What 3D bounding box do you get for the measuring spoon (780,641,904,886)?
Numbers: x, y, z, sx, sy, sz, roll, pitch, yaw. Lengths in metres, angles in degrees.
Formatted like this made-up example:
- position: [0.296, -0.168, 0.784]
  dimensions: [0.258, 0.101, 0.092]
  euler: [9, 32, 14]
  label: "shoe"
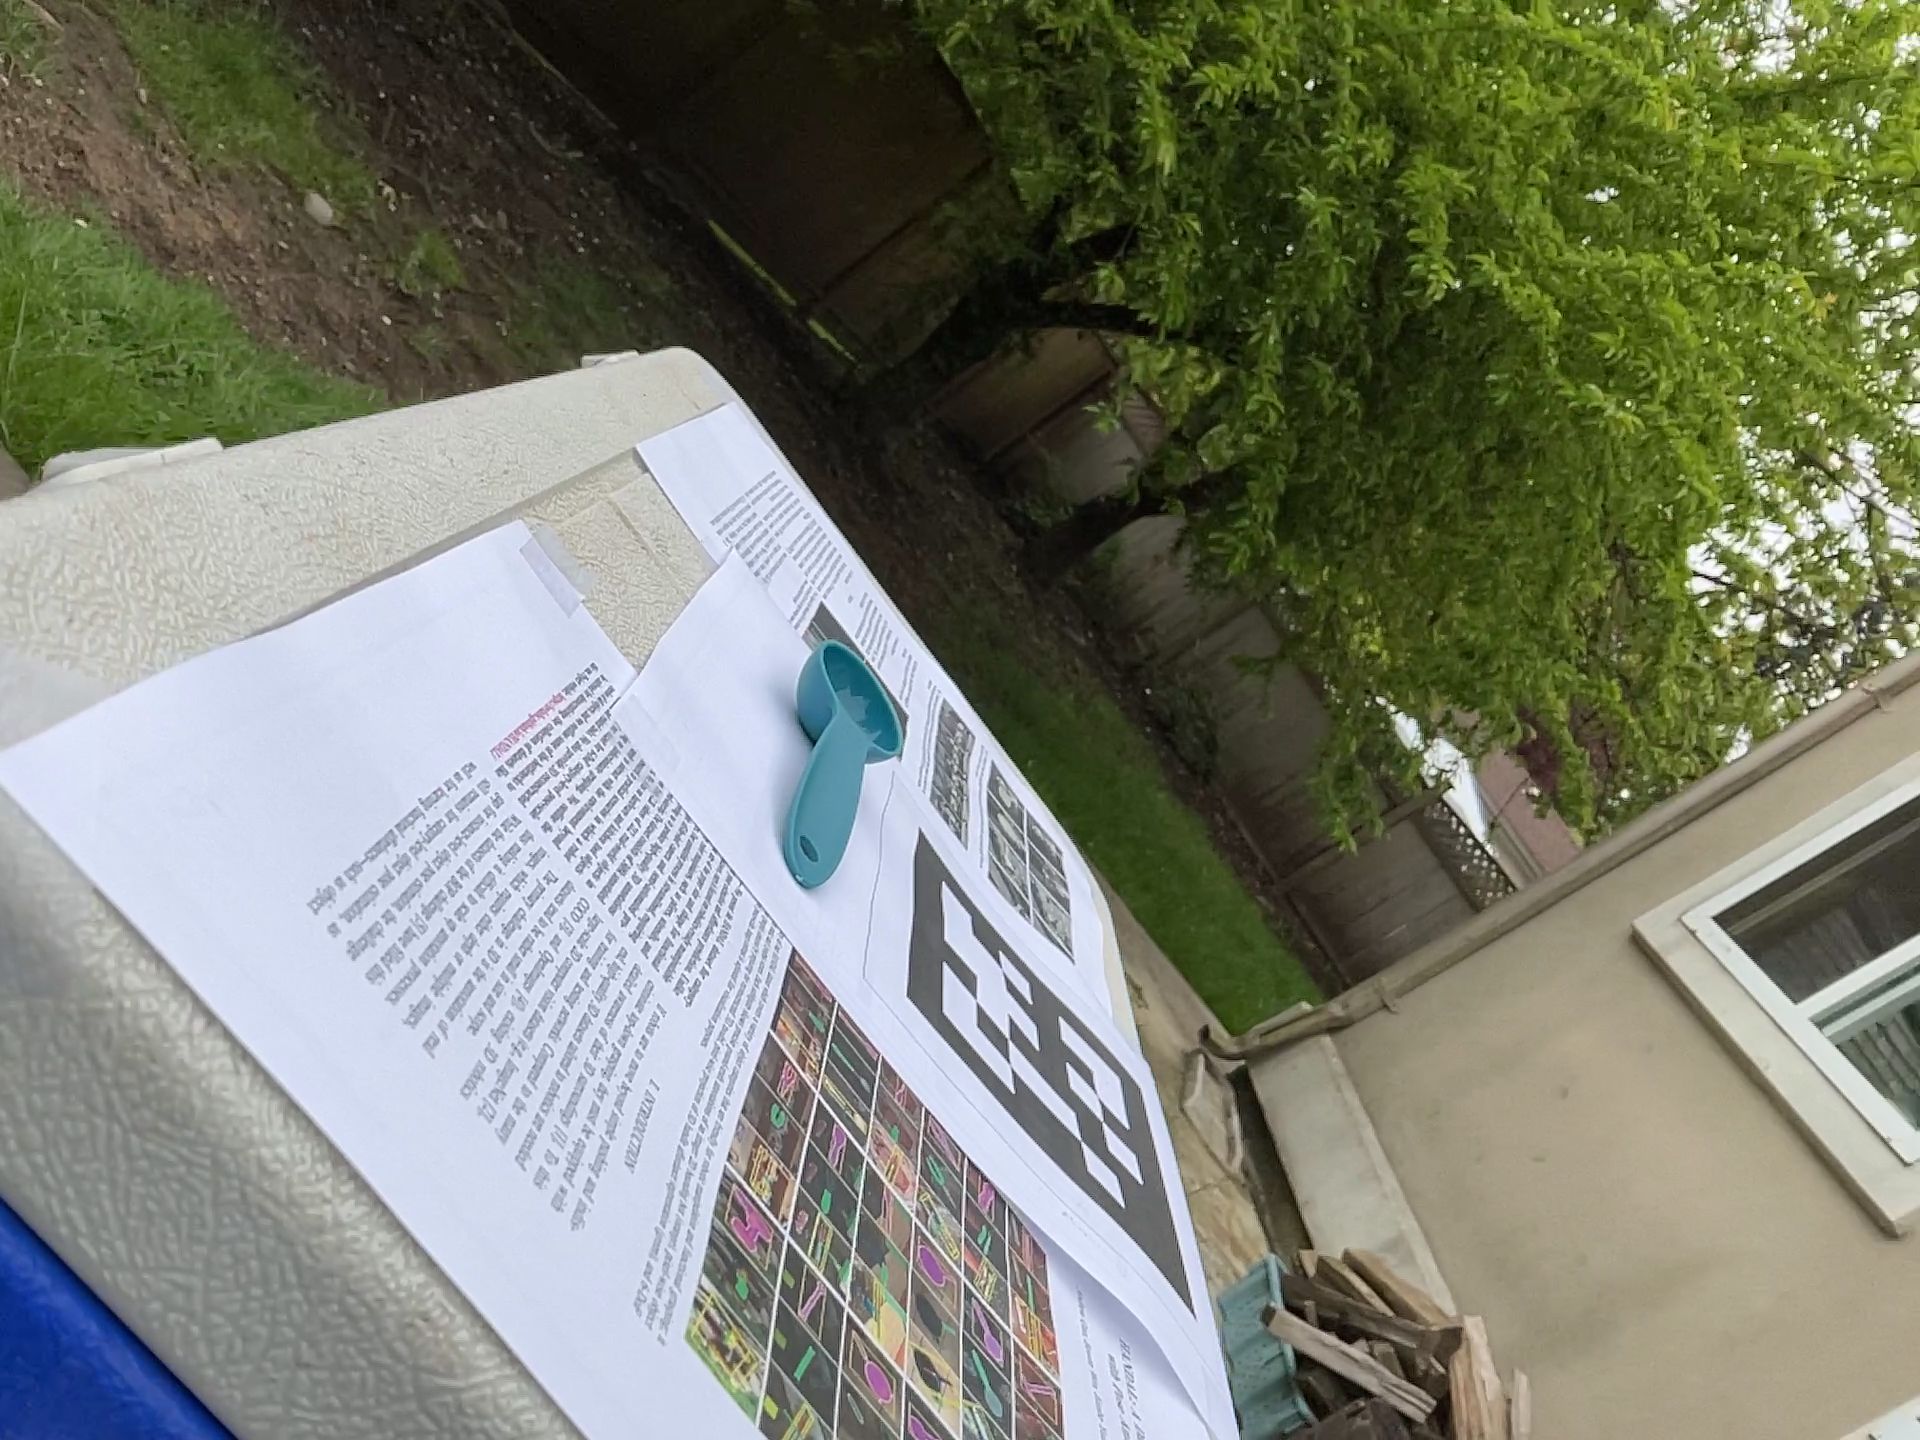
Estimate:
- position: [-0.042, 0.016, 0.461]
  dimensions: [0.042, 0.021, 0.129]
  euler: [52, 19, -17]
  label: "measuring spoon"
